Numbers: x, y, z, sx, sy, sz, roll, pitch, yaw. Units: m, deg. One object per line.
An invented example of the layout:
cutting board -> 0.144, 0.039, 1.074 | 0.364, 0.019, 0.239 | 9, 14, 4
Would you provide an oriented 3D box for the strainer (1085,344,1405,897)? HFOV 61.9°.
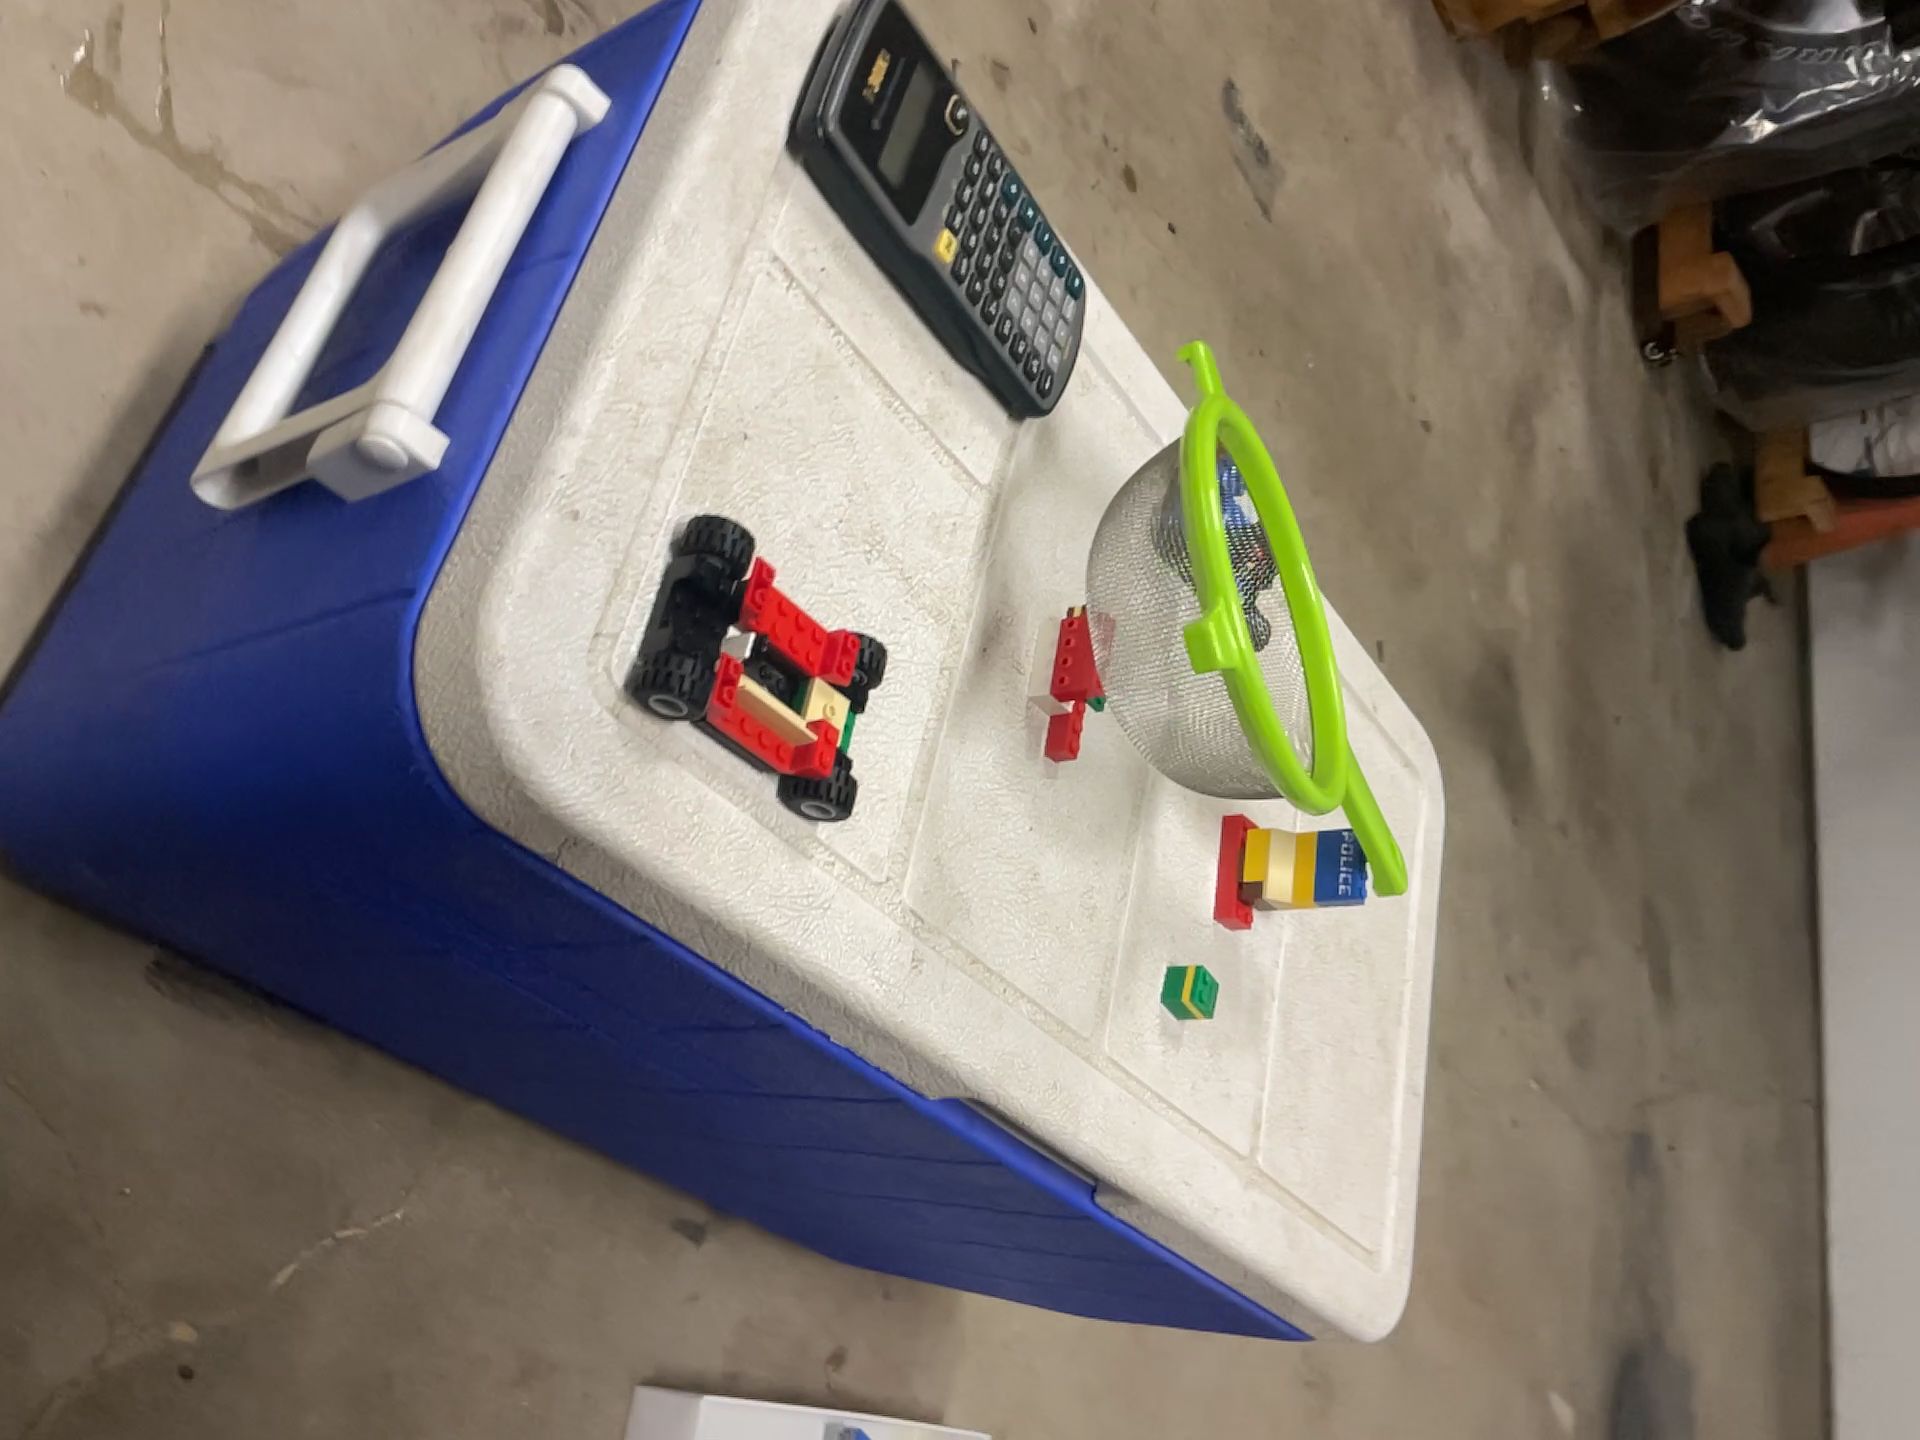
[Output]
strainer -> 0.107, -0.002, 0.607 | 0.256, 0.069, 0.152 | 55, 30, -43
